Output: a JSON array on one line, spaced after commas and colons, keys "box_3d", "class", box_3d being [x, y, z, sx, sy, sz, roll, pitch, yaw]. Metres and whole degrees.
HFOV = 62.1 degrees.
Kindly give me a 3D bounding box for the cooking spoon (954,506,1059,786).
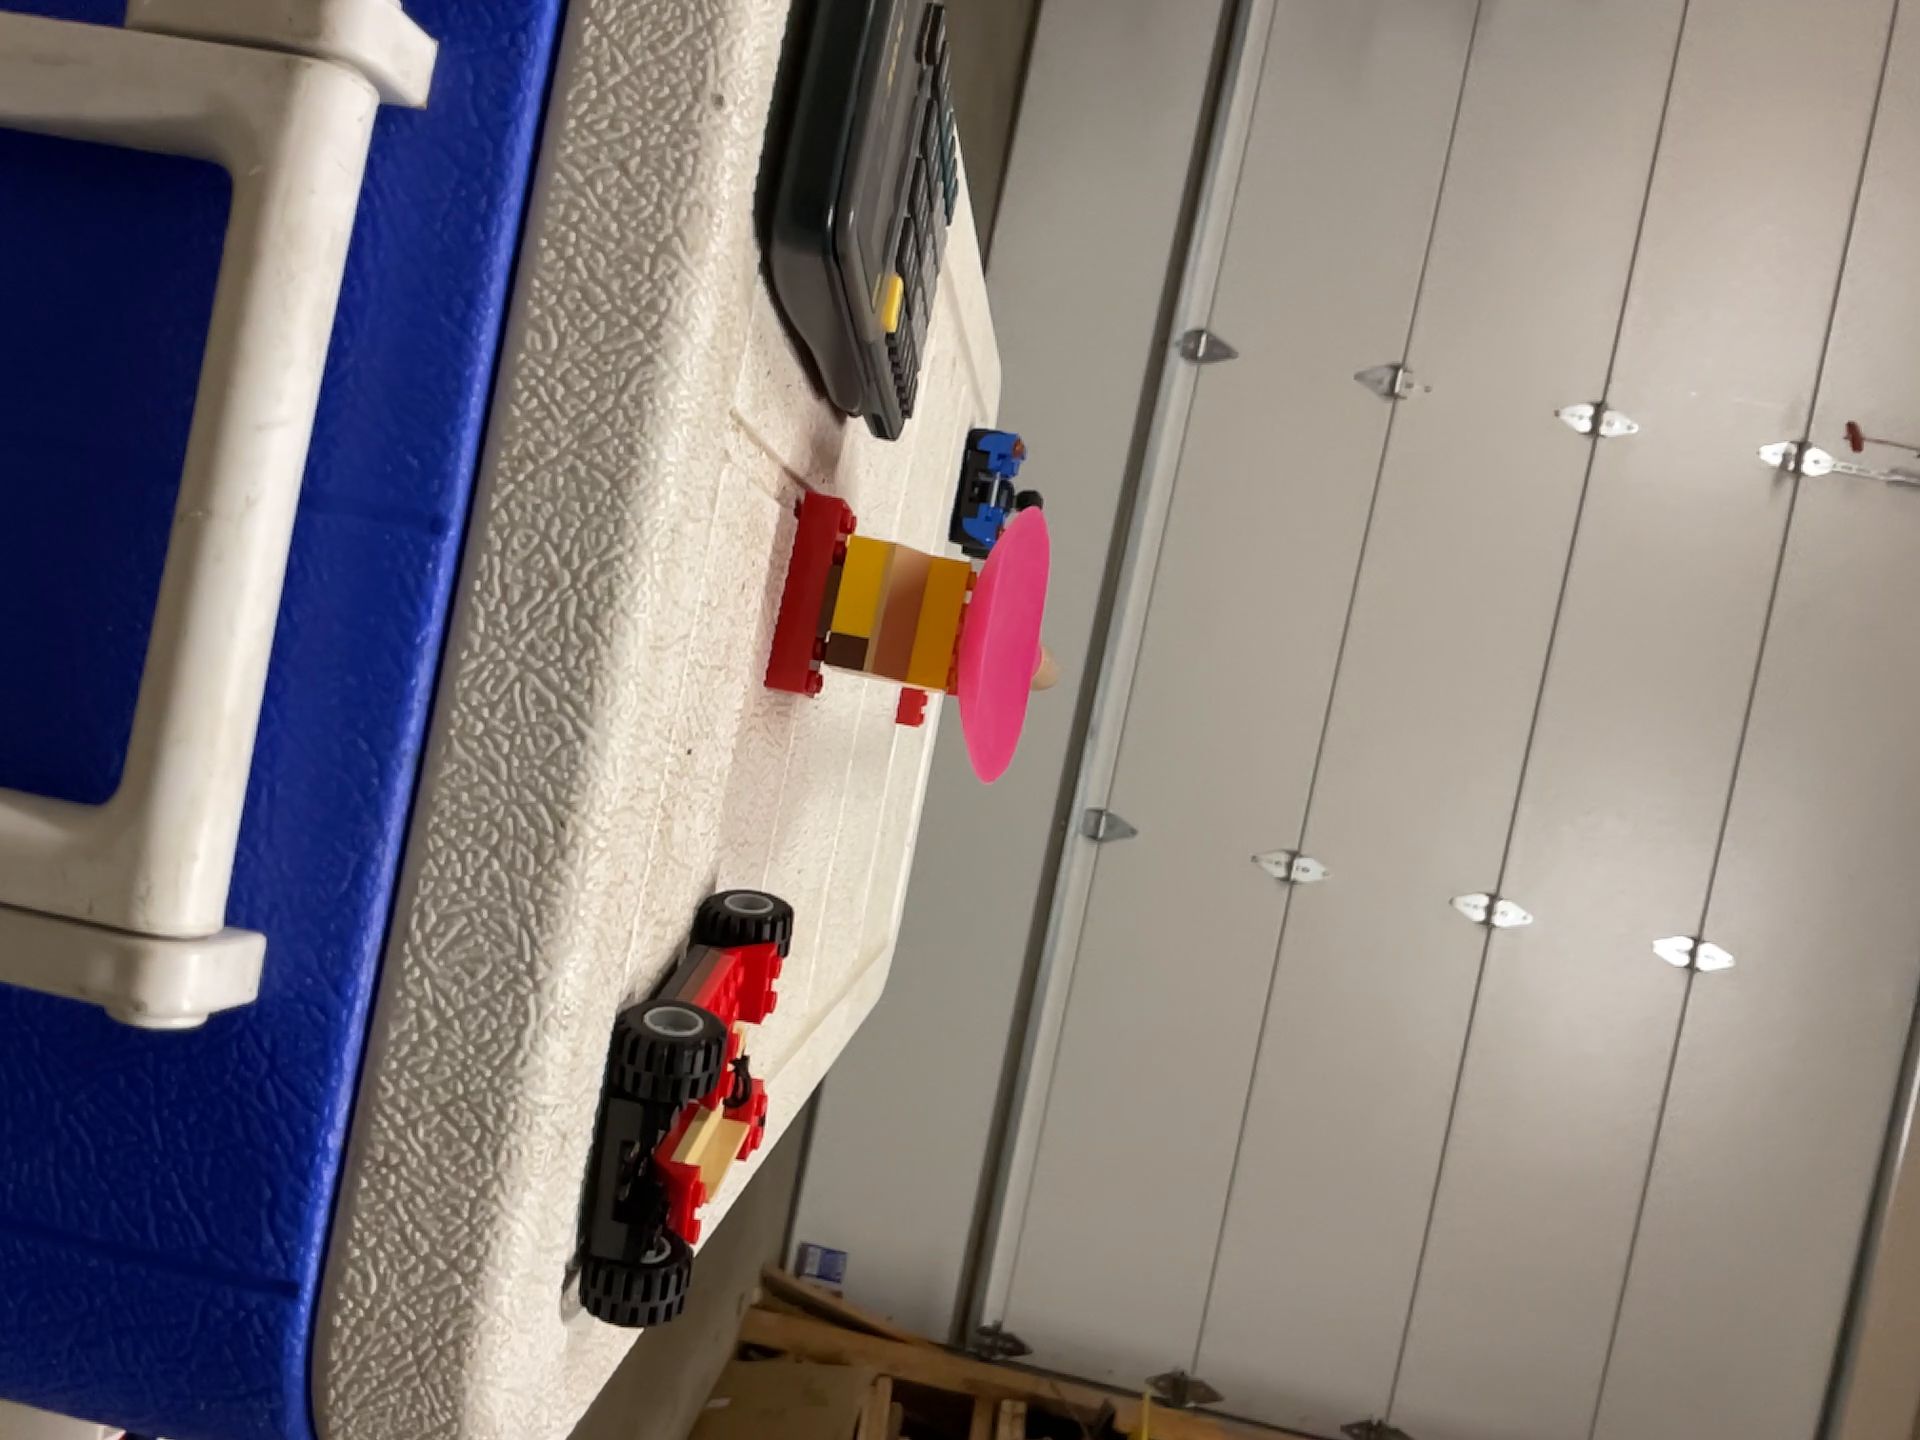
[{"box_3d": [0.018, -0.019, 0.500, 0.319, 0.017, 0.068, 1, 100, -84], "class": "cooking spoon"}]
